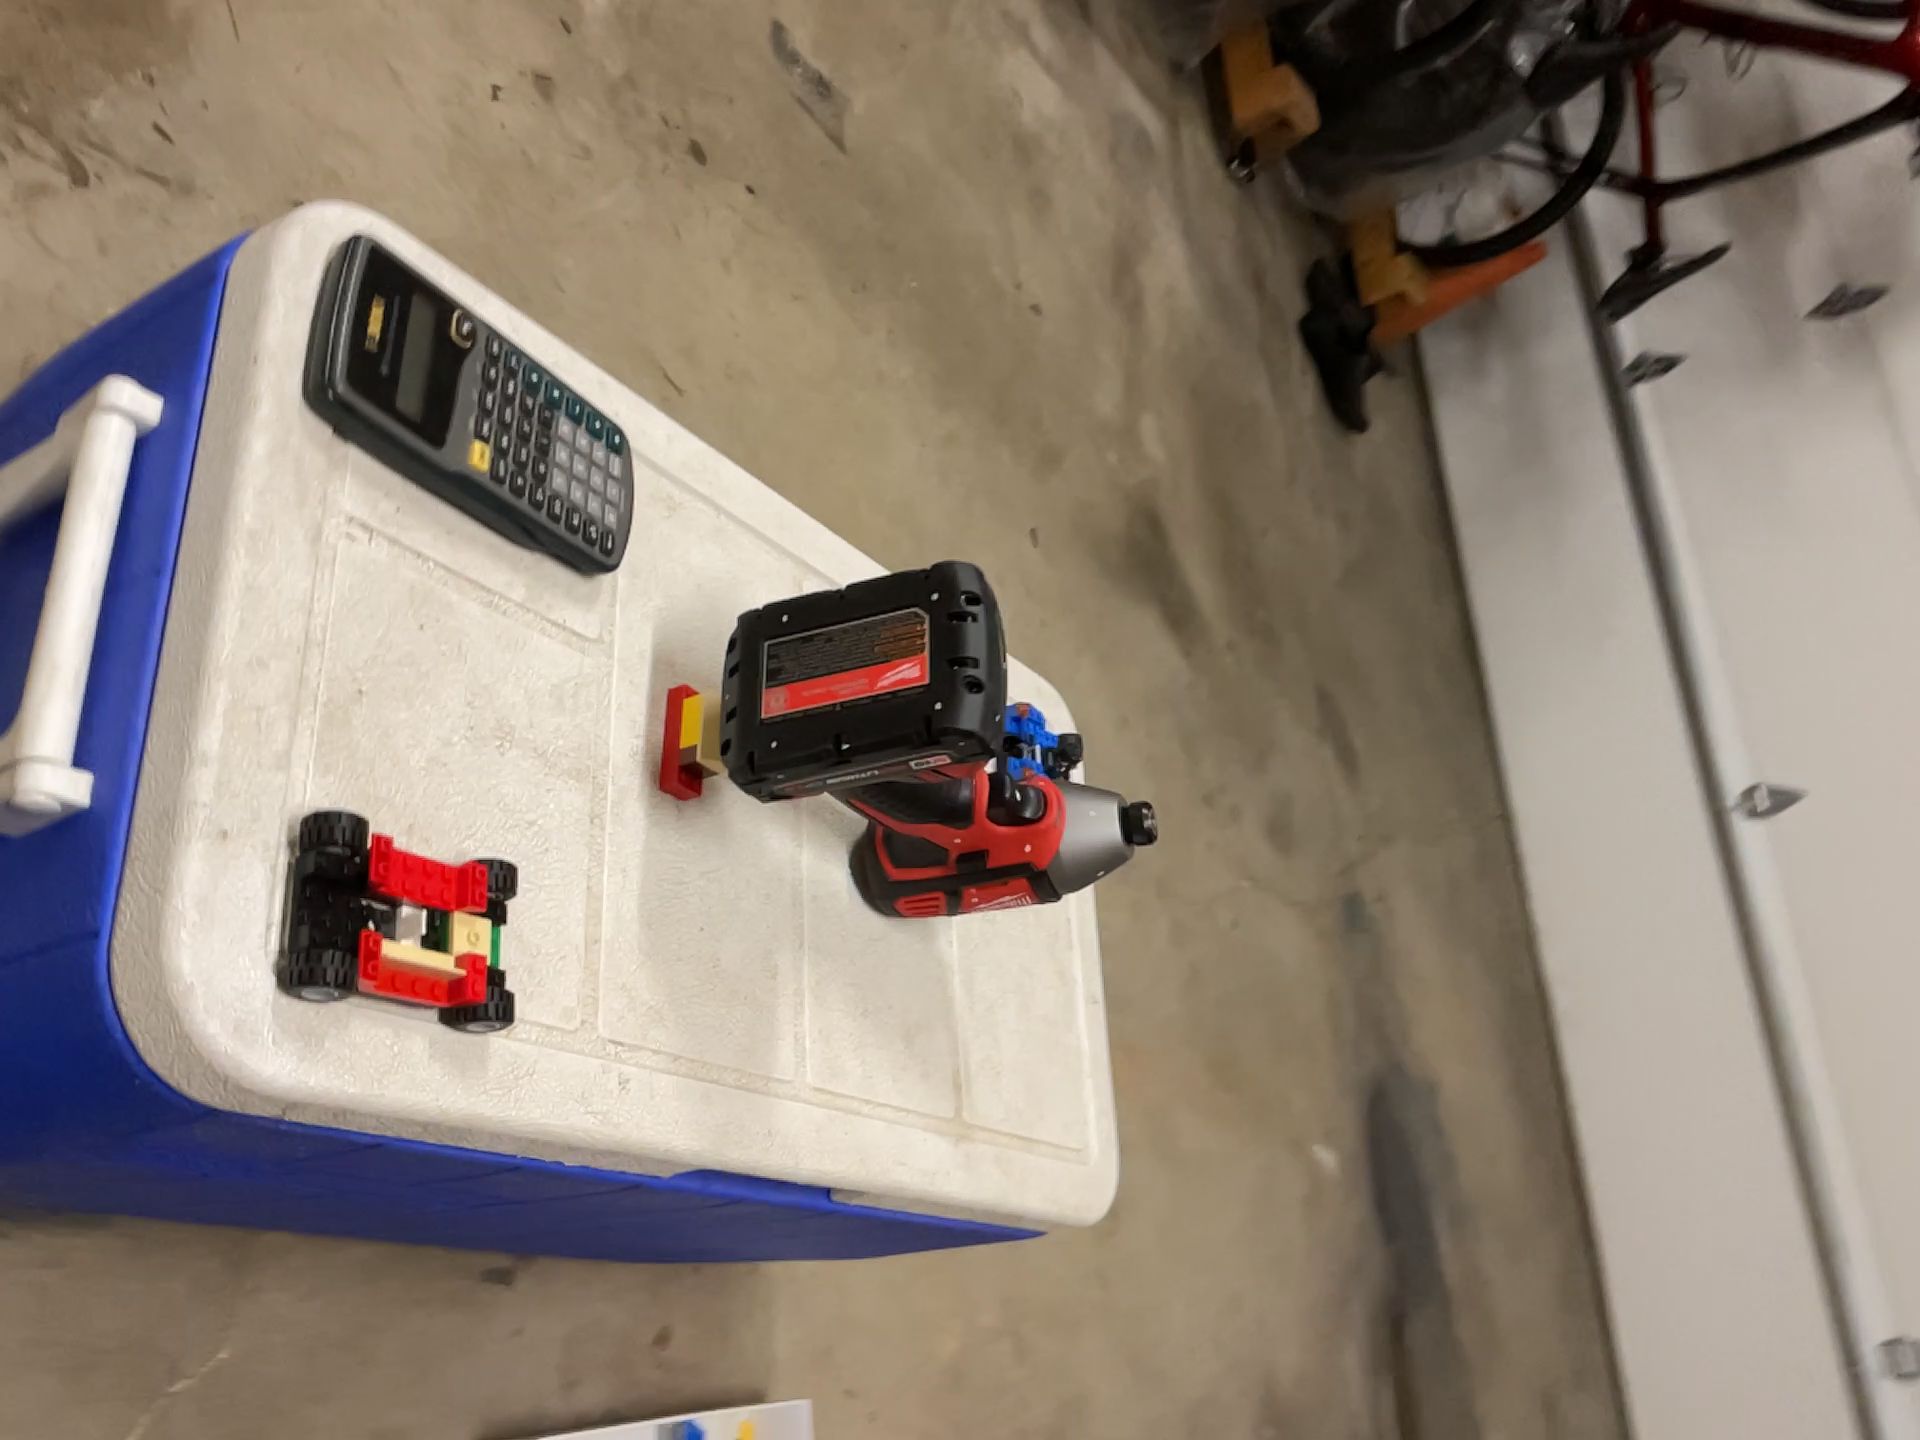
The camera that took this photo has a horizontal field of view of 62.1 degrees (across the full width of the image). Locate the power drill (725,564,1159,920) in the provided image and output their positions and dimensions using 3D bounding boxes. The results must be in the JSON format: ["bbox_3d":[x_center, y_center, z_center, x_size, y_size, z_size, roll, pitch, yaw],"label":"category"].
[{"bbox_3d":[-0.001,0.025,0.710,0.219,0.143,0.079,53,31,-56],"label":"power drill"}]
